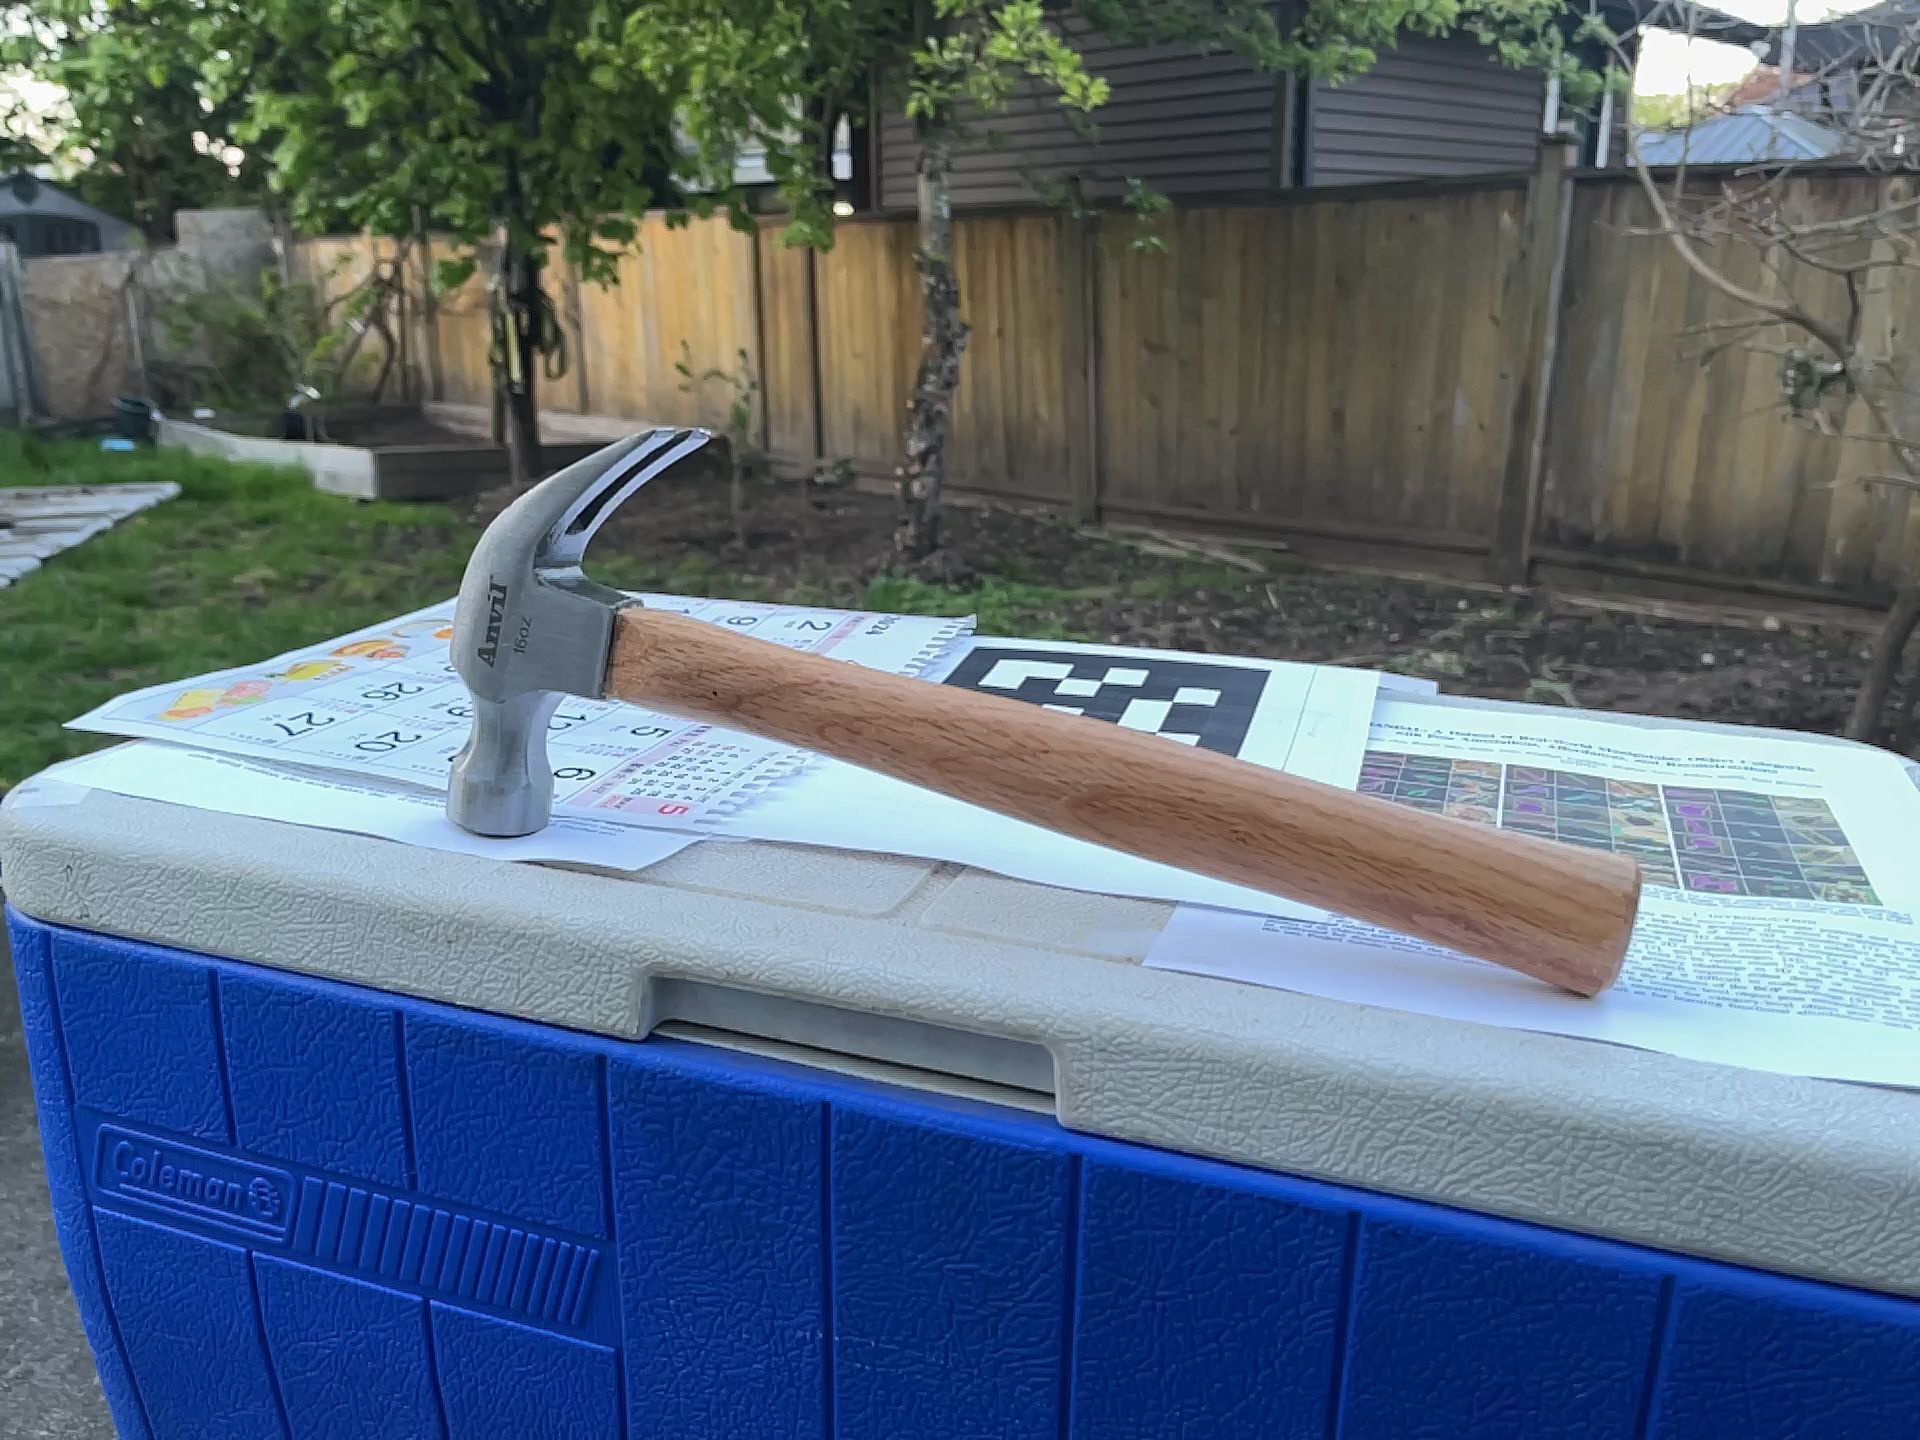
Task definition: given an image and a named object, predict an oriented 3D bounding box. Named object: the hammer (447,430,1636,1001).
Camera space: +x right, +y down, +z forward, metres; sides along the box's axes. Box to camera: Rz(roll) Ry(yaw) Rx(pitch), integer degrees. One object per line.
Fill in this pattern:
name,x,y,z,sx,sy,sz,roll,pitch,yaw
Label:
hammer,0.009,0.007,0.422,0.331,0.130,0.031,15,14,15
